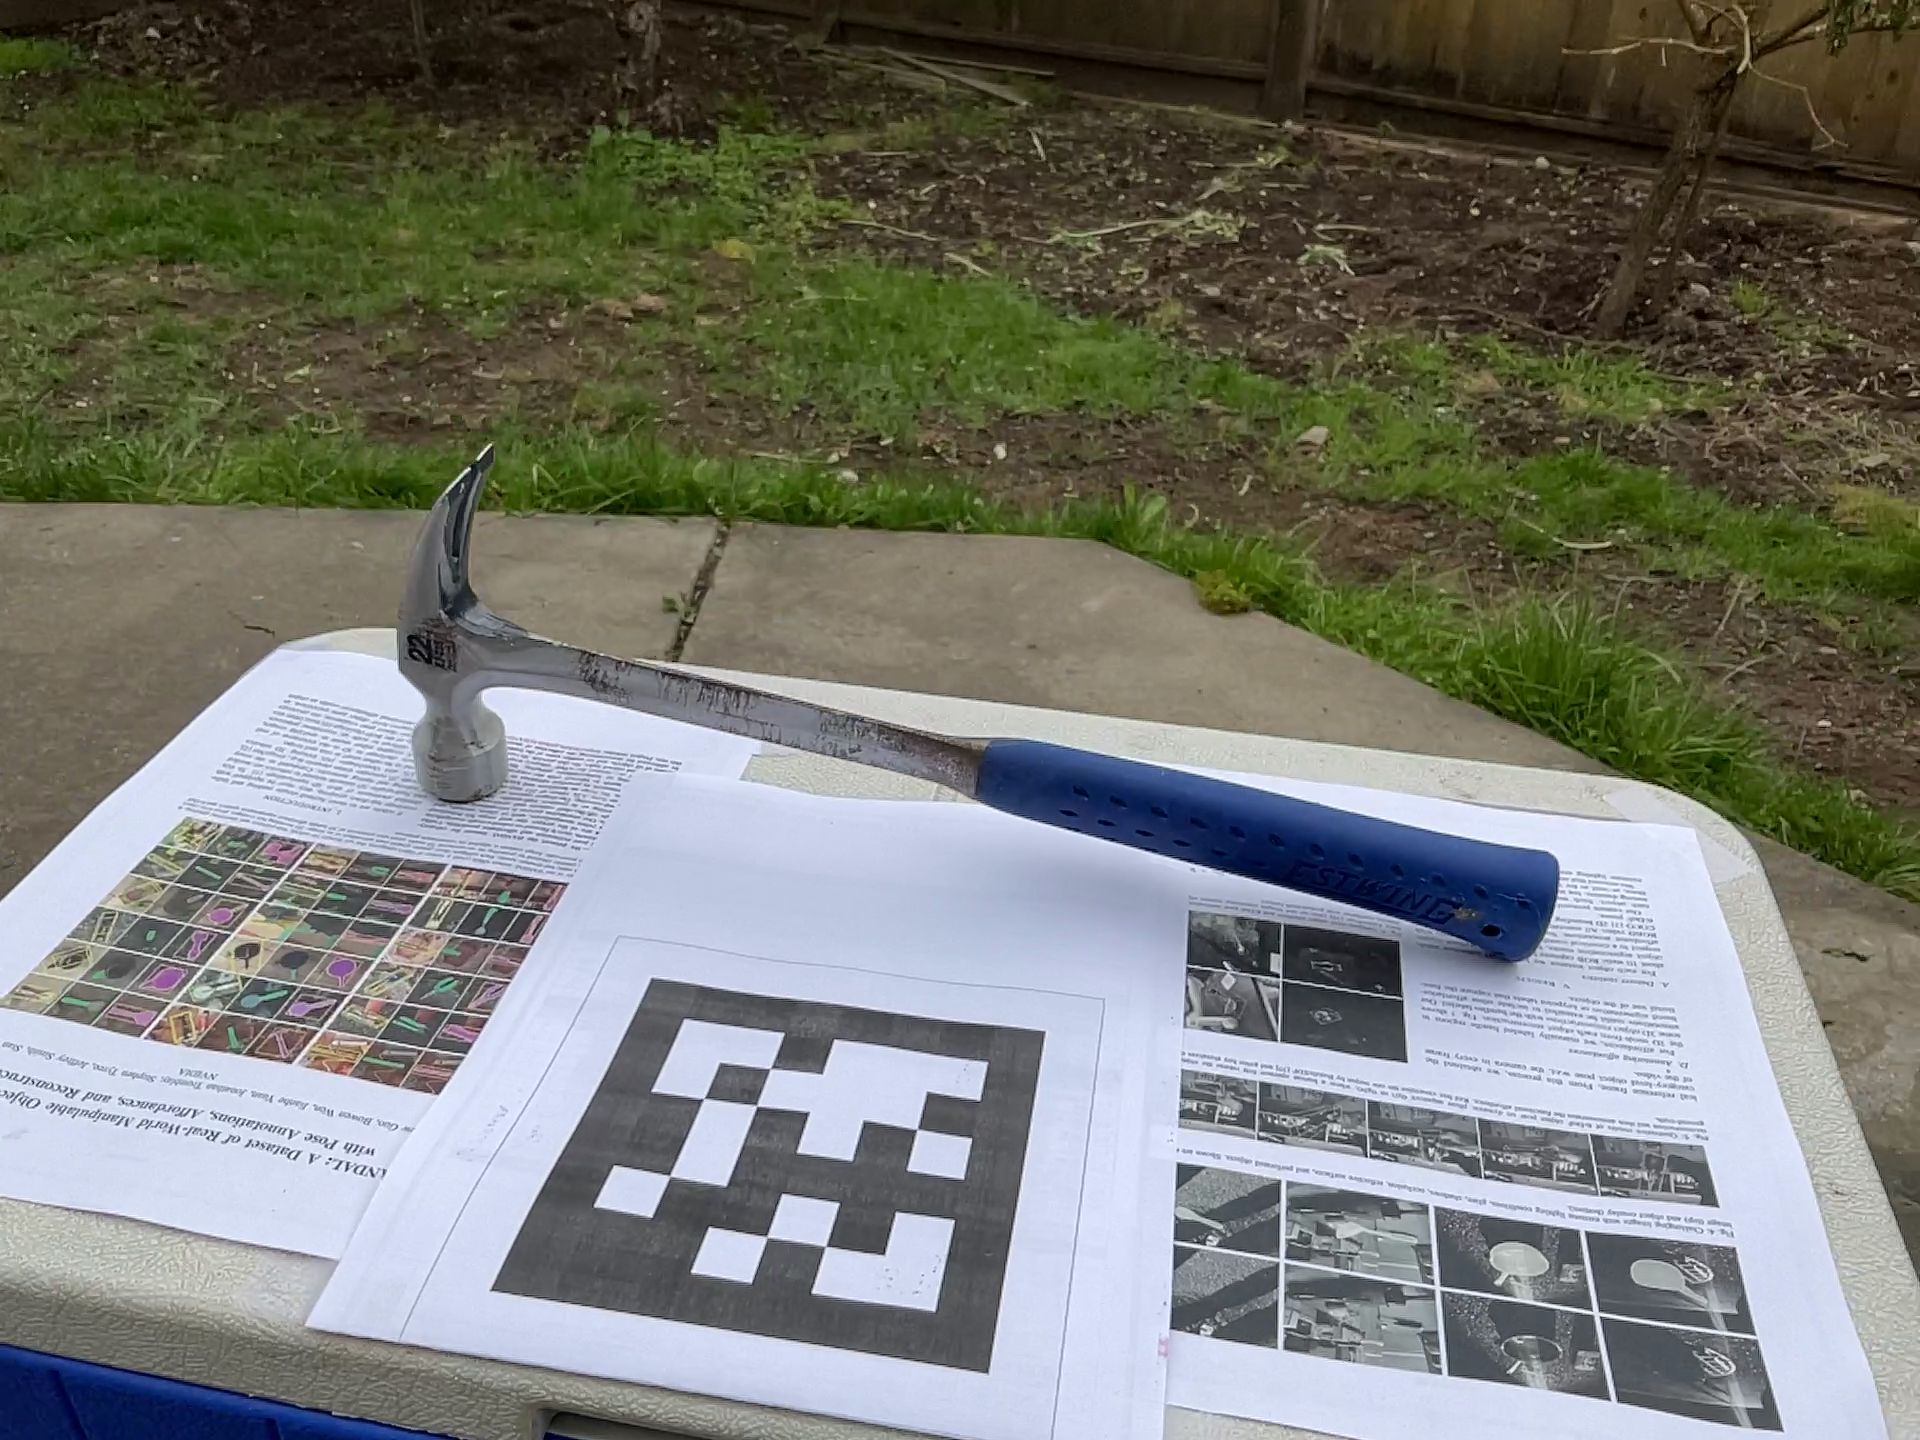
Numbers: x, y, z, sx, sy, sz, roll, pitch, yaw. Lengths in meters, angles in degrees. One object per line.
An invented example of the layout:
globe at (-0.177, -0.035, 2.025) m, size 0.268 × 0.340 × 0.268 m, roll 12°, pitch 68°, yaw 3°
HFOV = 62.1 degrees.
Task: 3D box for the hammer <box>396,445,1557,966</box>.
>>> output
hammer at (-0.002, 0.012, 0.549) m, size 0.405 × 0.144 × 0.035 m, roll 14°, pitch 40°, yaw 5°
